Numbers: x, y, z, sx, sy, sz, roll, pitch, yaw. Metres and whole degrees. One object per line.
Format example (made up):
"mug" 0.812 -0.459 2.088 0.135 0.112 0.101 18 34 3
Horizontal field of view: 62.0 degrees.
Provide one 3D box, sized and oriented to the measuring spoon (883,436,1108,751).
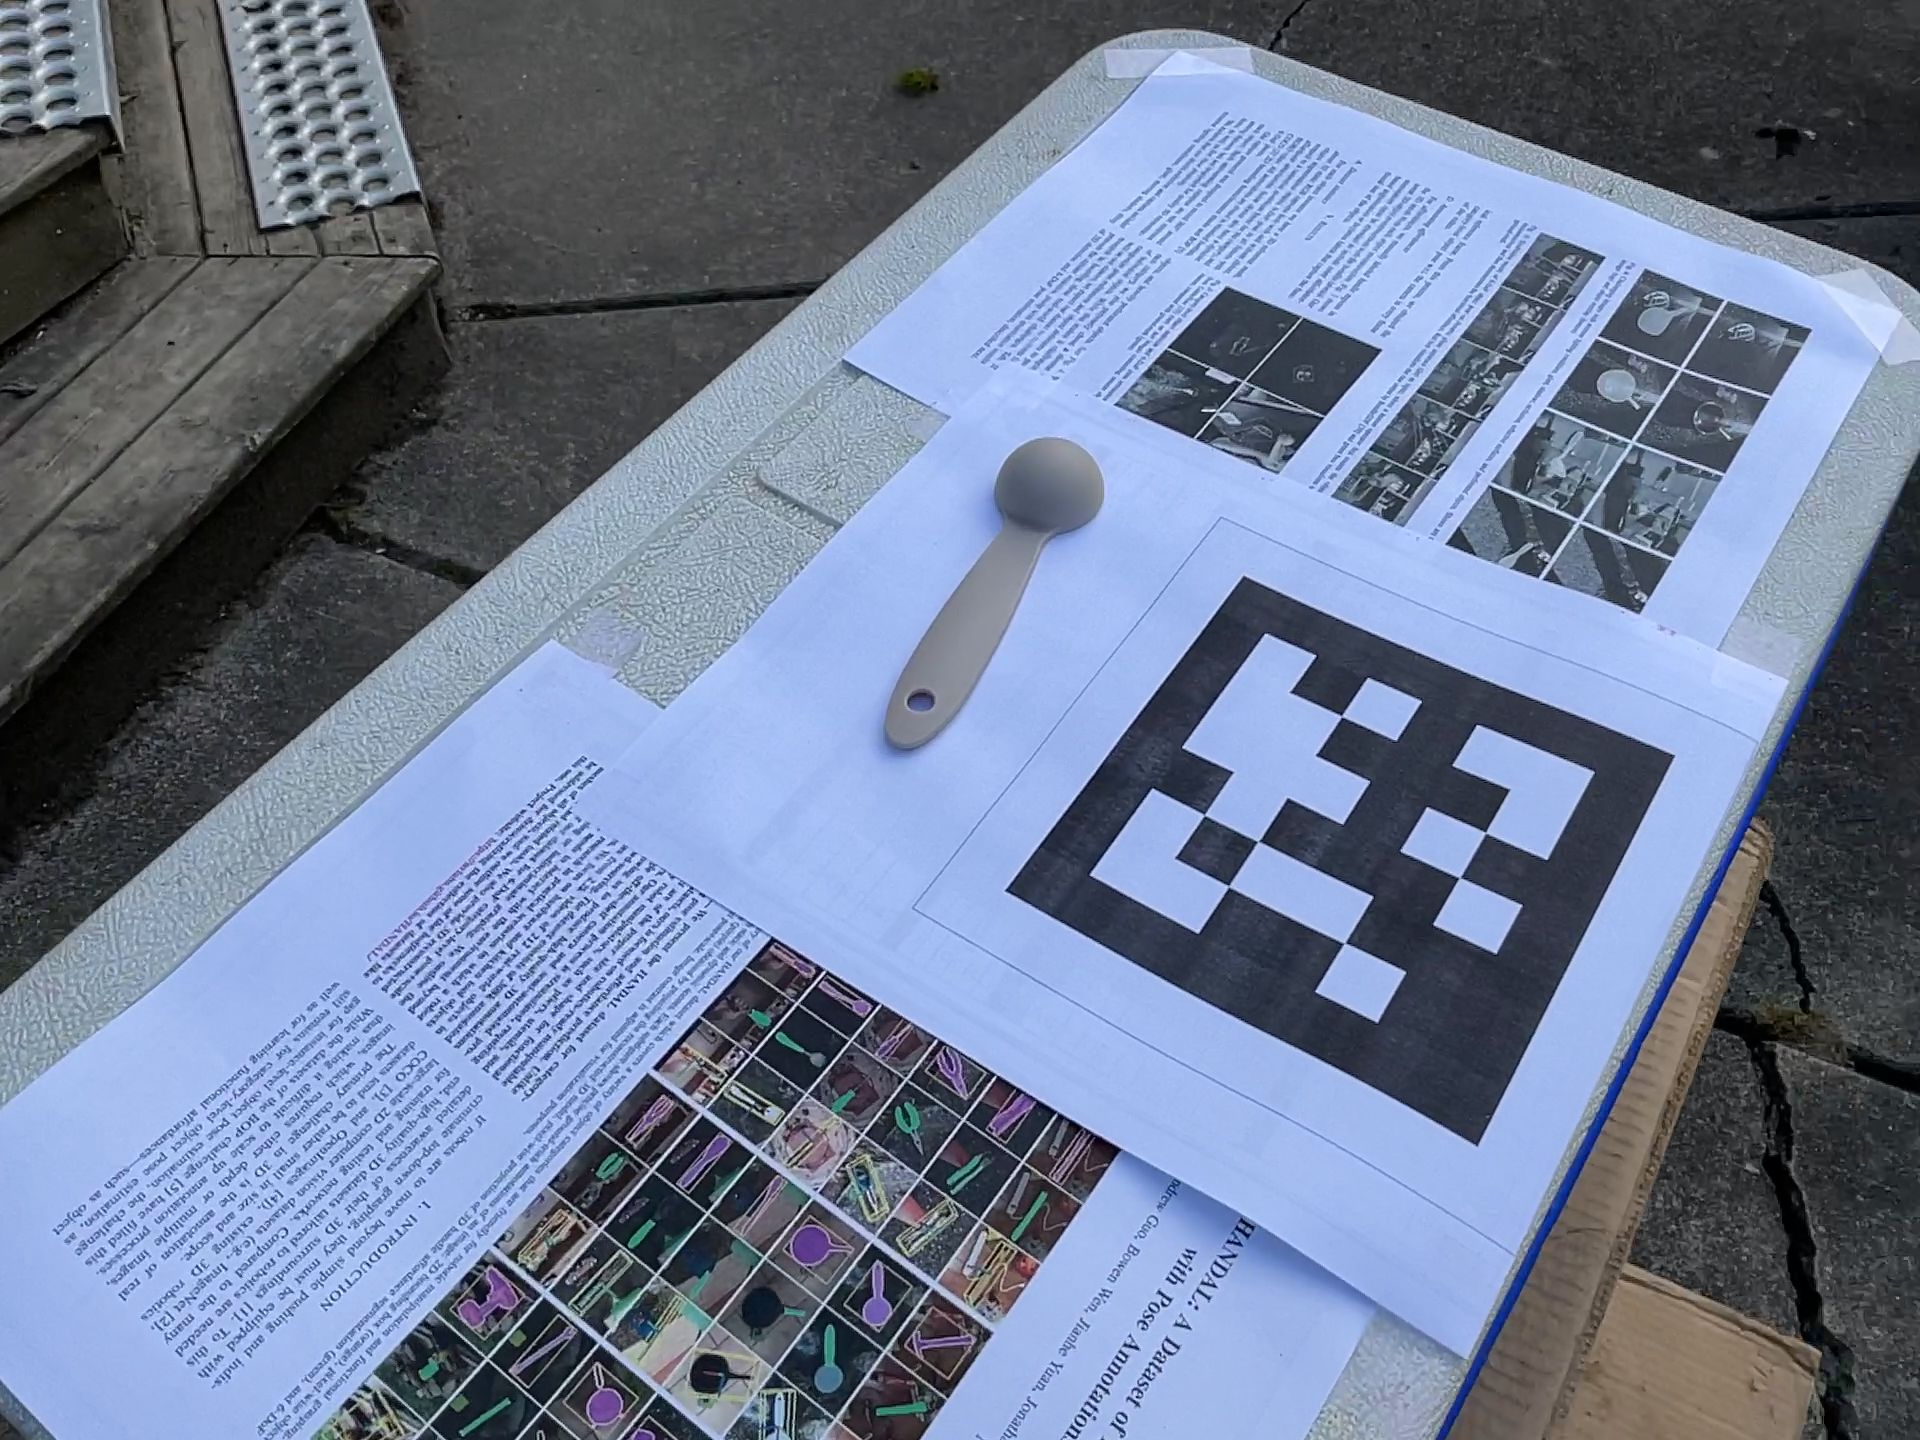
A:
"measuring spoon" 0.009 -0.041 0.458 0.034 0.018 0.124 20 56 15
